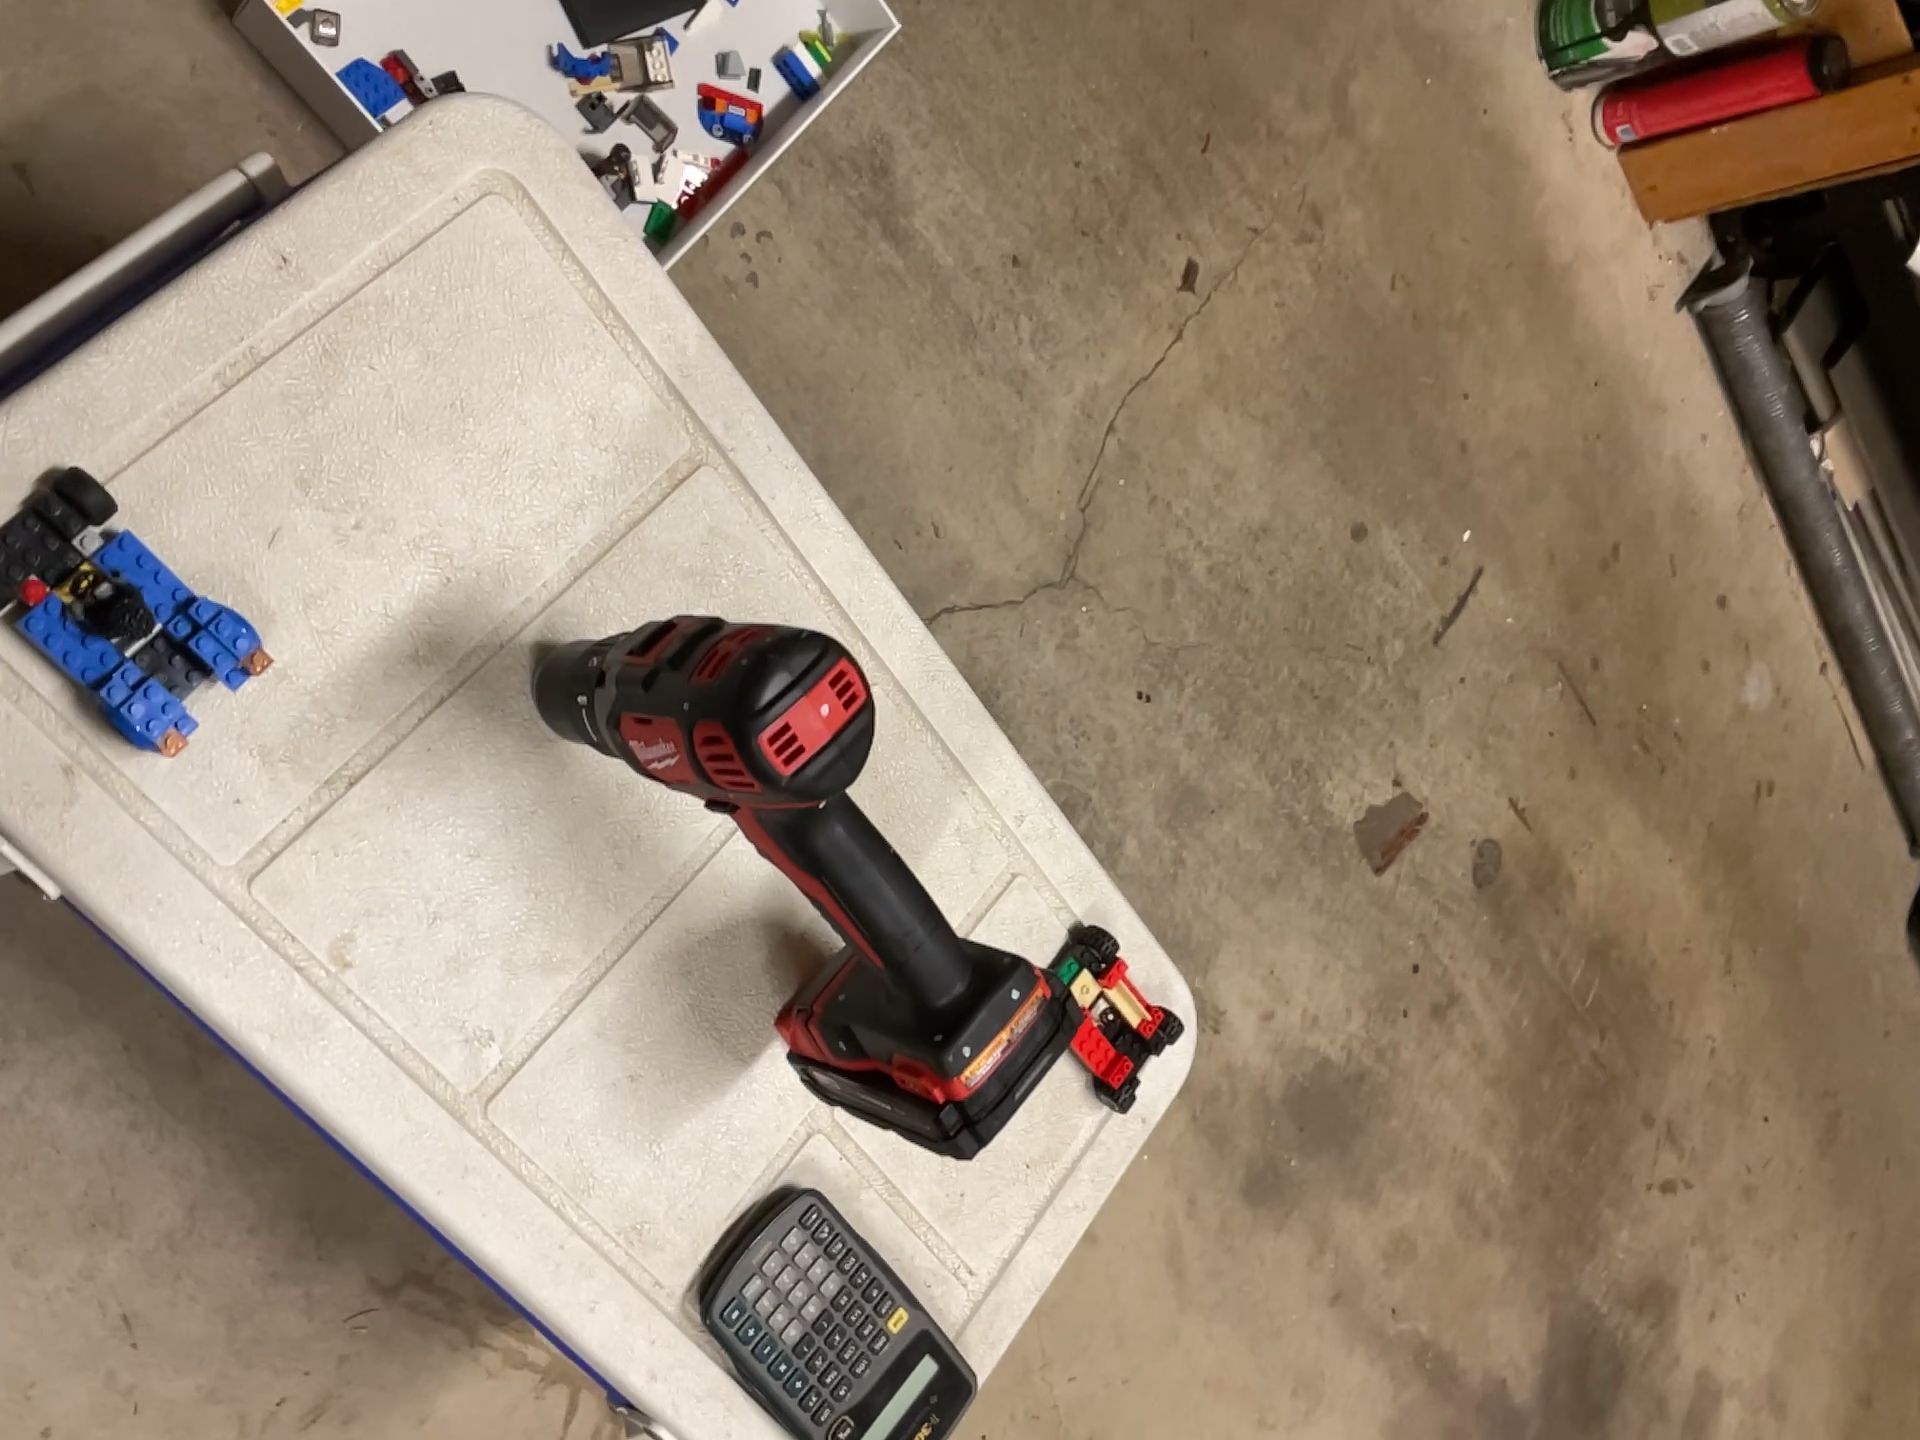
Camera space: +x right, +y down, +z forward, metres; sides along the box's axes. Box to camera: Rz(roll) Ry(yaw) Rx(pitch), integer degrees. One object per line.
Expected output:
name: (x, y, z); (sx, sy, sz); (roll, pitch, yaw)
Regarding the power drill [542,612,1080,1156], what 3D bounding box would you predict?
power drill: (-0.070, 0.054, 0.634); (0.080, 0.188, 0.226); (-45, 120, -26)
